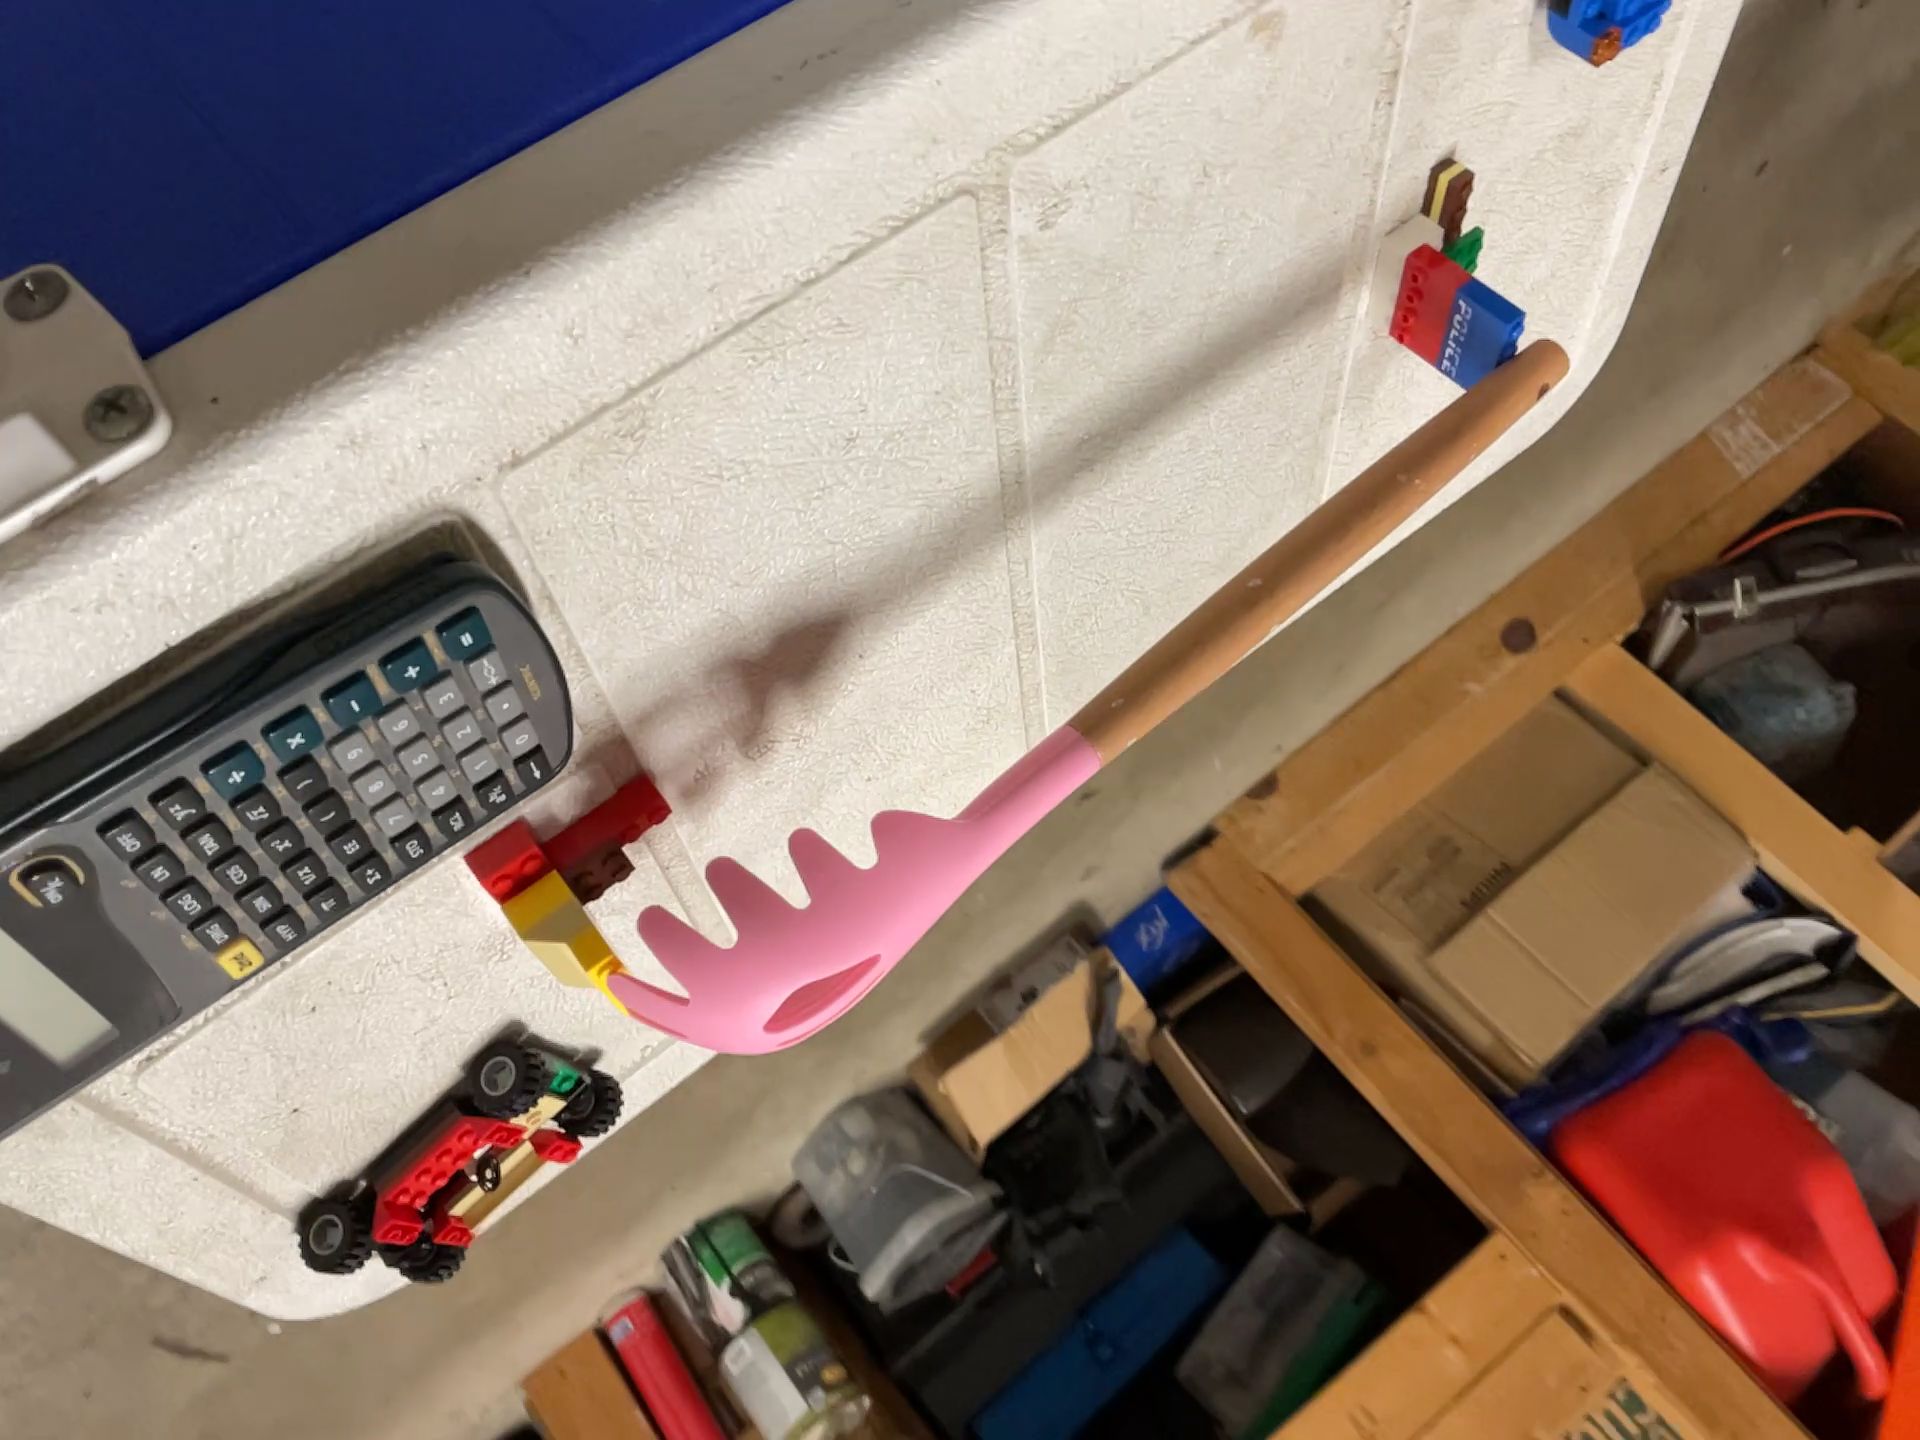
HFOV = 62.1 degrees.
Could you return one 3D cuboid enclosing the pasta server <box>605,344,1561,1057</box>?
[{"bbox_3d":[0.047,-0.014,0.426,0.316,0.040,0.060,-39,152,-15],"label":"pasta server"}]
